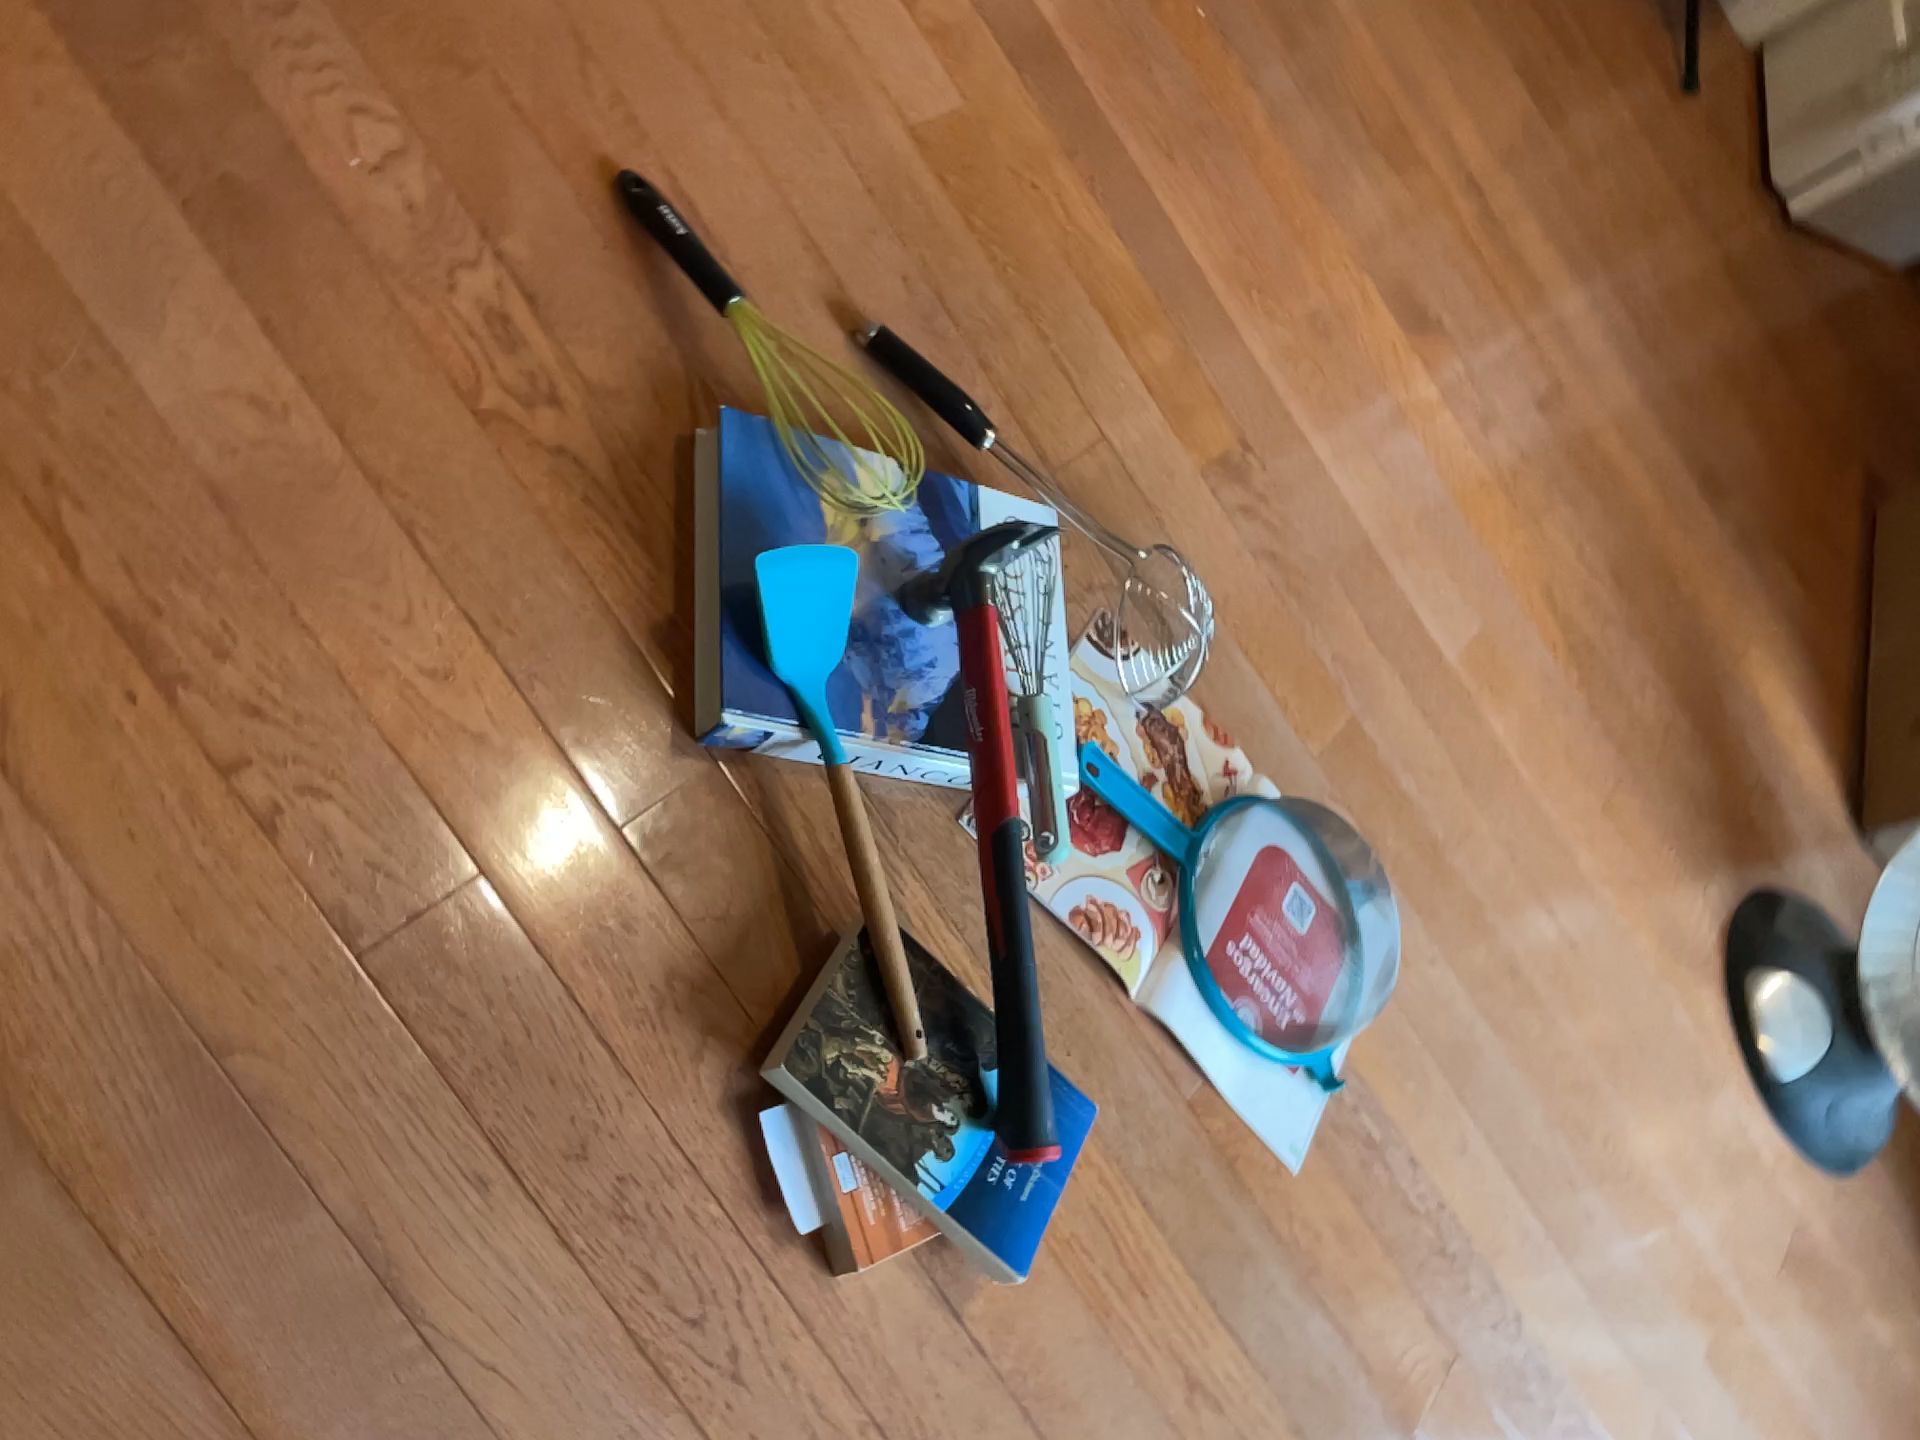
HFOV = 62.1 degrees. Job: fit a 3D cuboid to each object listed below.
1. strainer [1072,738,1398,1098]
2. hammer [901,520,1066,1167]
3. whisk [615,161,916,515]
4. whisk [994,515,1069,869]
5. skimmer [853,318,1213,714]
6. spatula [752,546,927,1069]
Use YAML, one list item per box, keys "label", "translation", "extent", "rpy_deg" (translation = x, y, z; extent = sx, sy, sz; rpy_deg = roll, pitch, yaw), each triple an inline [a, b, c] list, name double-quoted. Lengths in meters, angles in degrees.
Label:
- label: "strainer"
  translation: [0.220, 0.113, 1.165]
  extent: [0.340, 0.095, 0.211]
  rpy_deg: [42, 51, -26]
- label: "hammer"
  translation: [0.032, 0.072, 0.974]
  extent: [0.038, 0.143, 0.387]
  rpy_deg: [4, 72, -34]
- label: "whisk"
  translation: [-0.134, -0.253, 1.048]
  extent: [0.080, 0.067, 0.311]
  rpy_deg: [-34, 80, -27]
- label: "whisk"
  translation: [0.048, -0.021, 1.084]
  extent: [0.059, 0.057, 0.246]
  rpy_deg: [23, 59, -67]
- label: "skimmer"
  translation: [0.052, -0.154, 1.198]
  extent: [0.363, 0.090, 0.128]
  rpy_deg: [41, 53, -5]
- label: "spatula"
  translation: [-0.062, 0.051, 0.959]
  extent: [0.082, 0.044, 0.318]
  rpy_deg: [-7, 76, -42]
